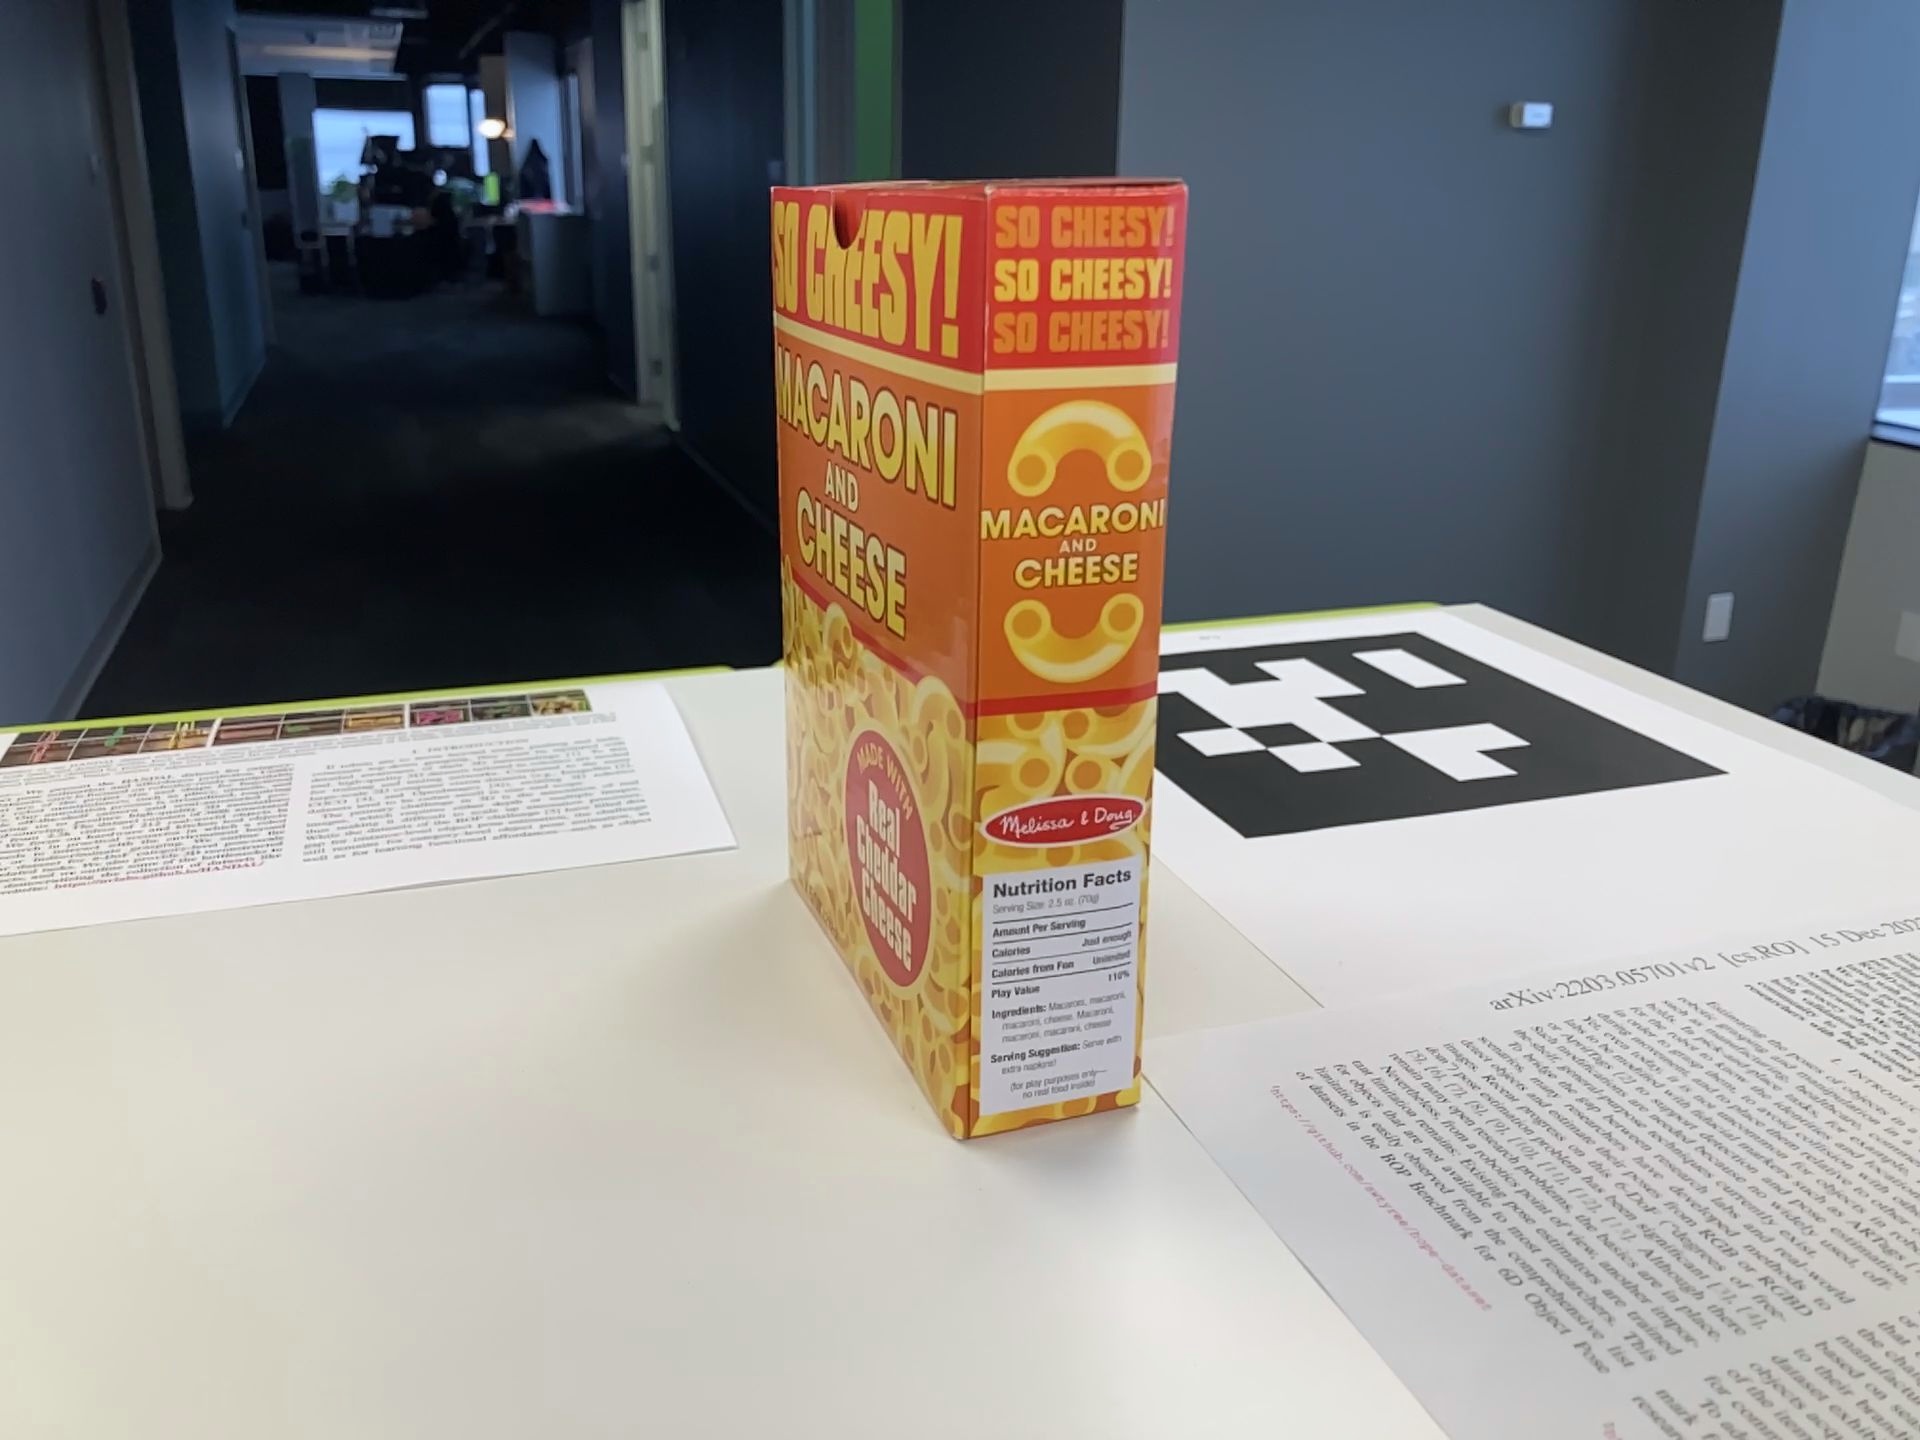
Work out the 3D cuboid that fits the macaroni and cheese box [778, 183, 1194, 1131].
[{"bbox_3d":[-0.003,-0.022,0.325,0.040,0.166,0.124,-7,20,-21],"label":"macaroni and cheese box"}]
